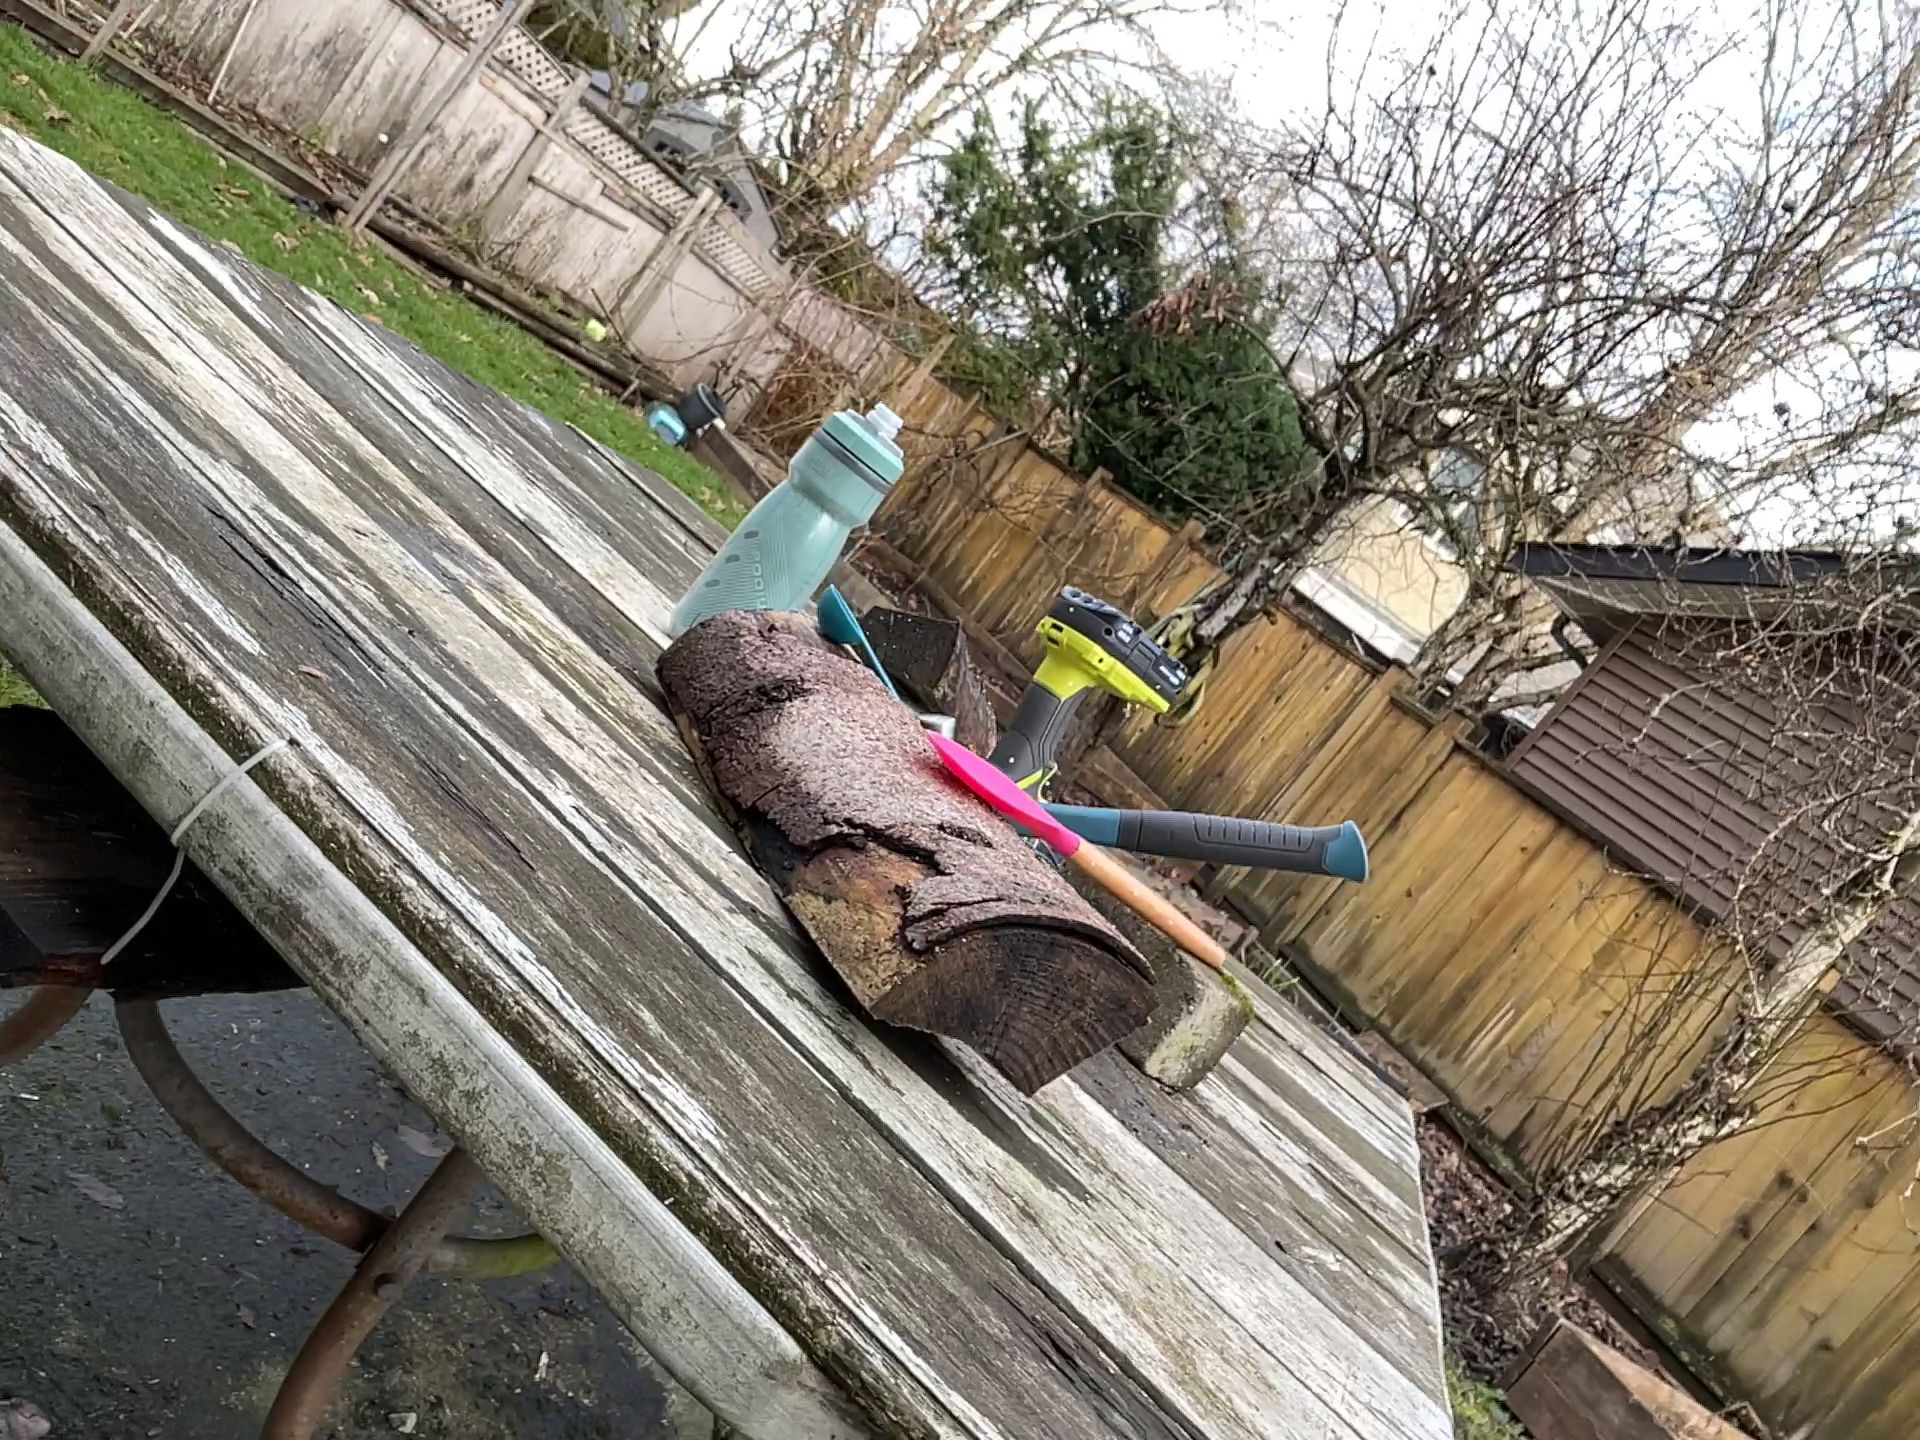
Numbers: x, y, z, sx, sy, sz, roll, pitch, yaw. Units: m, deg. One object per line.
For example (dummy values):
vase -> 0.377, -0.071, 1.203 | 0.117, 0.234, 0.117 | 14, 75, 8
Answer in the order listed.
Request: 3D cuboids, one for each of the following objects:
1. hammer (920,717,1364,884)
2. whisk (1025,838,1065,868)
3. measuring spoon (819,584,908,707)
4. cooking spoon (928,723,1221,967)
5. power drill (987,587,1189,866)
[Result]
hammer -> 0.126, 0.079, 1.135 | 0.331, 0.128, 0.033 | 6, 12, -3
whisk -> 0.093, 0.144, 1.254 | 0.238, 0.055, 0.055 | 37, 13, -44
measuring spoon -> -0.058, -0.029, 1.041 | 0.128, 0.021, 0.042 | 60, 4, -6
cooking spoon -> 0.080, 0.086, 0.982 | 0.318, 0.017, 0.069 | 39, 3, -41
power drill -> 0.078, 0.021, 1.291 | 0.171, 0.223, 0.080 | 35, -1, -42
